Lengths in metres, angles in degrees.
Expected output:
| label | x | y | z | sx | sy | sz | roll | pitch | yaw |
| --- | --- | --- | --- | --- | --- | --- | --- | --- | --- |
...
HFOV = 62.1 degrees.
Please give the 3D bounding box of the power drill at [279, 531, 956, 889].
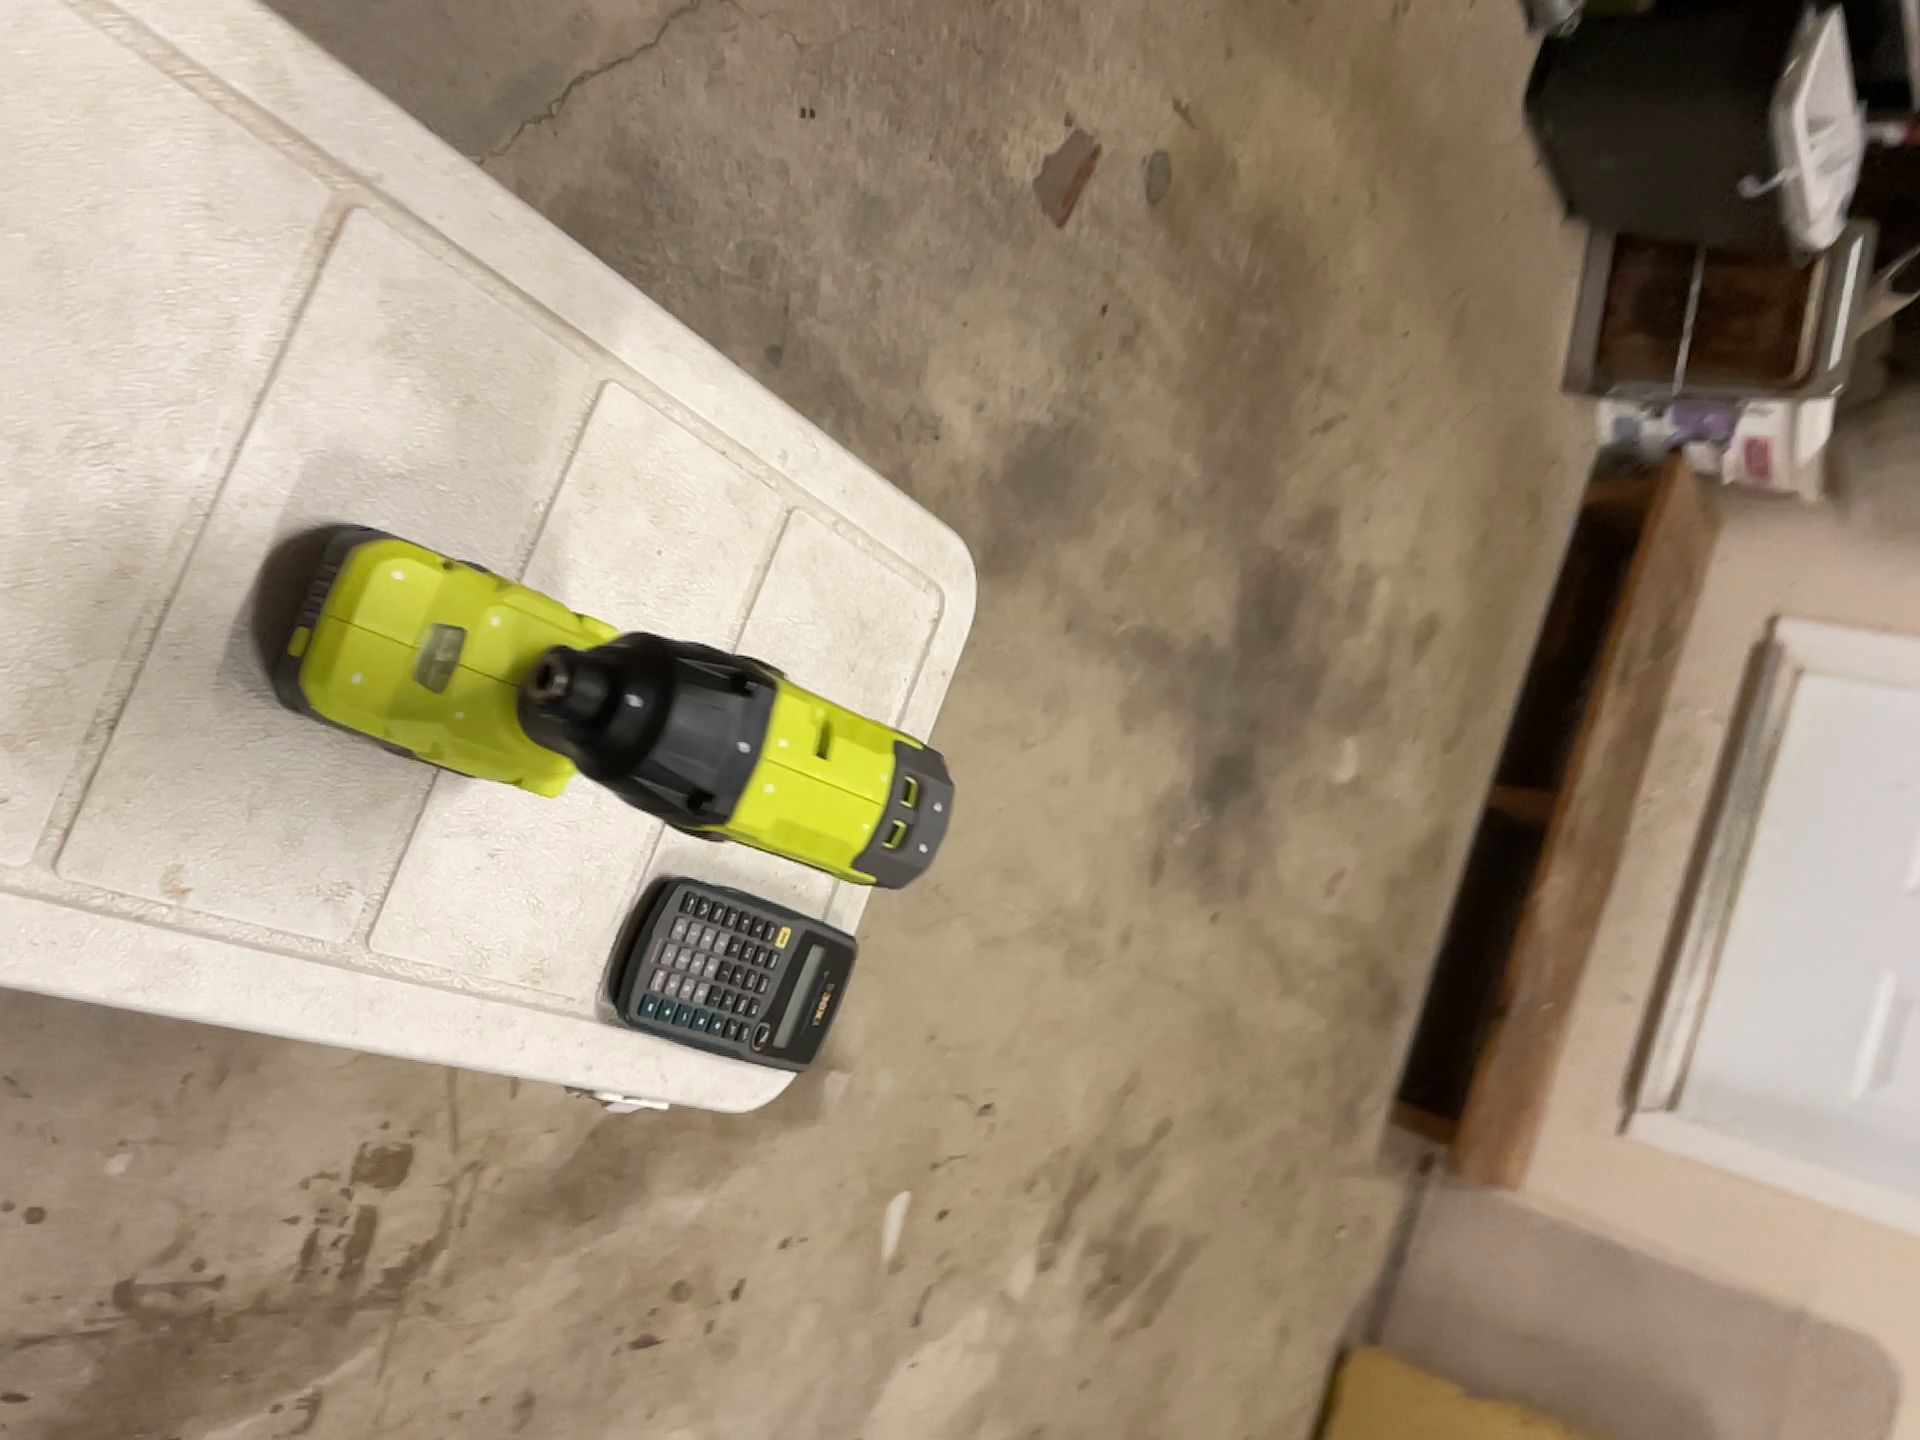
| label | x | y | z | sx | sy | sz | roll | pitch | yaw |
| --- | --- | --- | --- | --- | --- | --- | --- | --- | --- |
| power drill | -0.133 | -0.006 | 0.570 | 0.171 | 0.223 | 0.080 | 27 | 80 | -52 |
